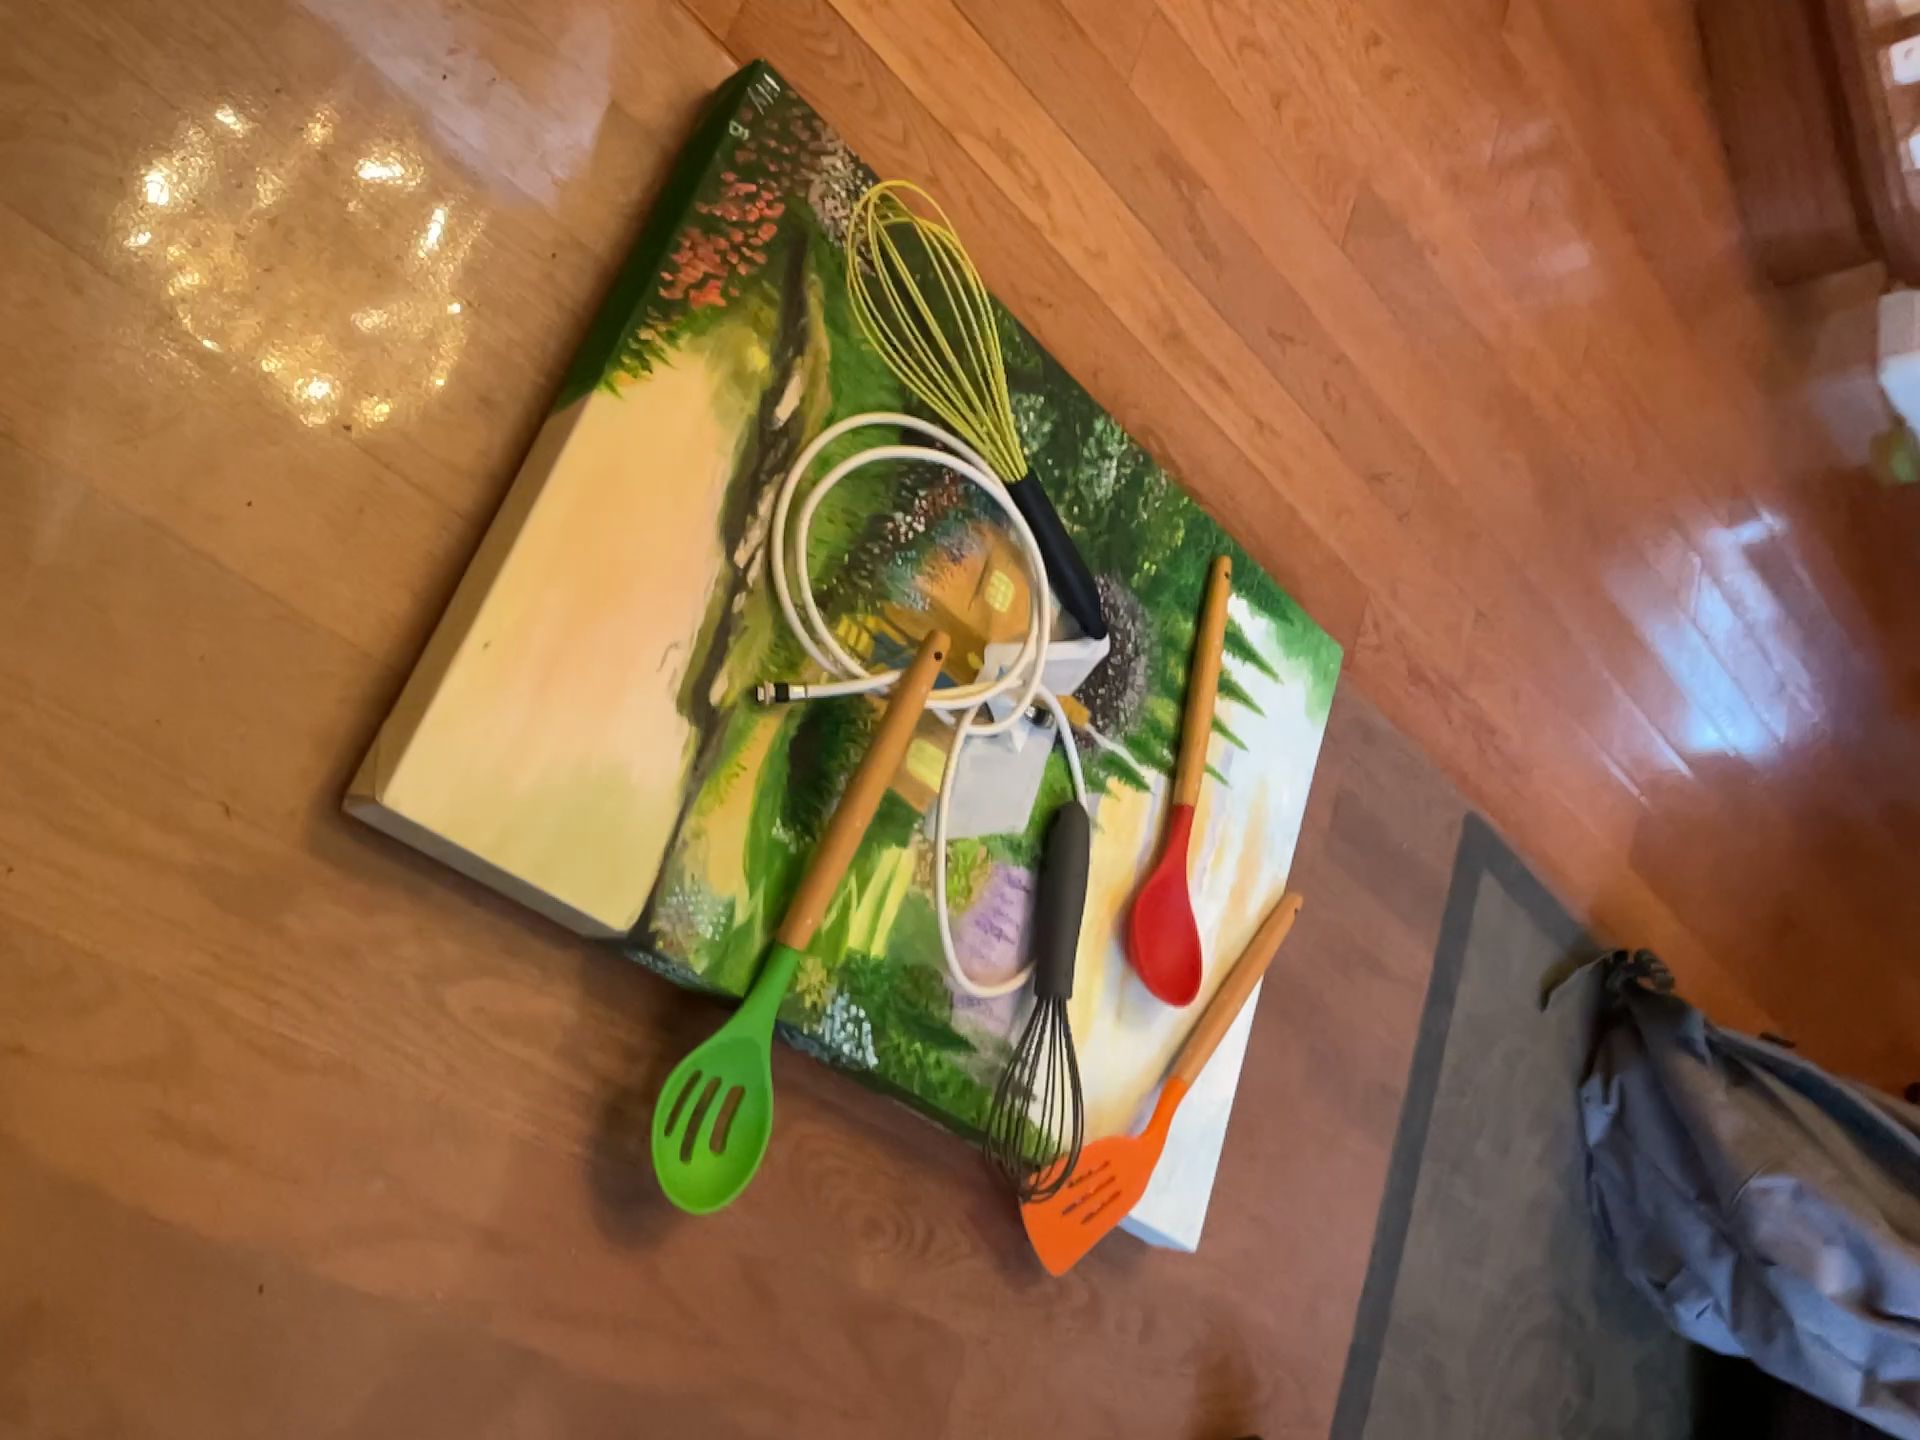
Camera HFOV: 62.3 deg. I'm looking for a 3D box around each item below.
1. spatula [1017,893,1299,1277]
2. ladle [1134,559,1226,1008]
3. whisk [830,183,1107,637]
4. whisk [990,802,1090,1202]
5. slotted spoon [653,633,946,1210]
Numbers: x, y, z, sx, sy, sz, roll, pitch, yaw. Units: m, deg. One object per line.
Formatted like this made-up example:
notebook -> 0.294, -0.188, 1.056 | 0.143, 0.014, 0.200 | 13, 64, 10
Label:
spatula -> 0.142, 0.217, 1.029 | 0.323, 0.041, 0.081 | -47, 127, -39
ladle -> 0.152, 0.034, 1.052 | 0.069, 0.031, 0.316 | 29, 63, -39
whisk -> 0.016, -0.169, 0.935 | 0.080, 0.067, 0.311 | -51, 124, -30
whisk -> 0.054, 0.159, 0.927 | 0.055, 0.055, 0.239 | 36, 54, -47
slotted spoon -> -0.076, 0.095, 0.814 | 0.070, 0.031, 0.314 | 34, 74, -35
